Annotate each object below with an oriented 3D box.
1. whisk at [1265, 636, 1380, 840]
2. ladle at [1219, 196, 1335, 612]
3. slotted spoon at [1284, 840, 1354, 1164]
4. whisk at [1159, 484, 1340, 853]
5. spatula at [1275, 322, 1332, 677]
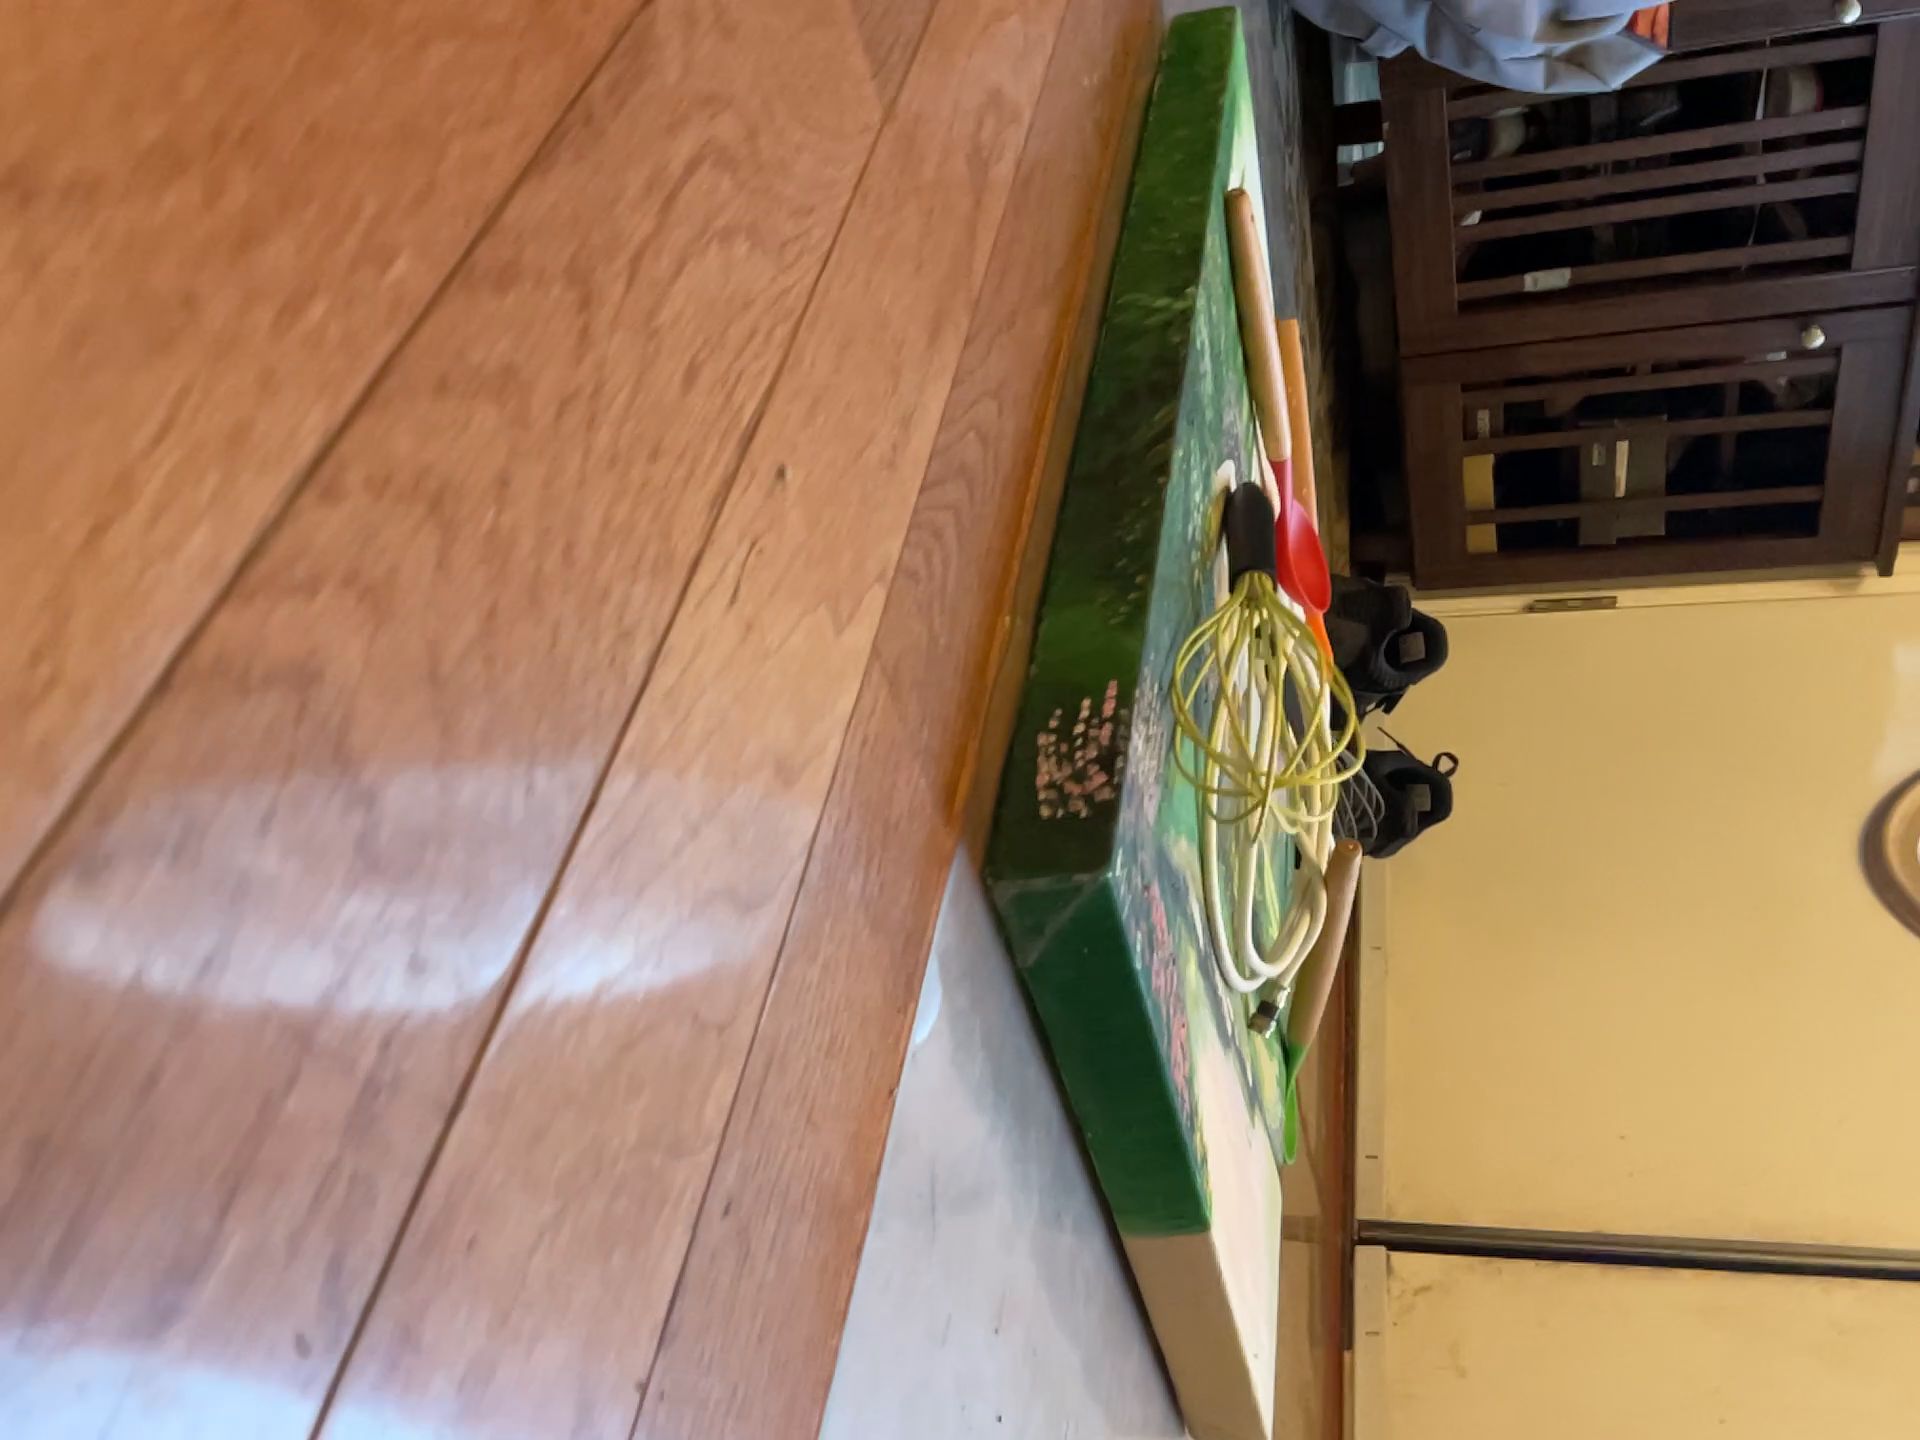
[{"bbox_3d":[0.222,0.010,0.998,0.238,0.055,0.055,57,24,-48],"label":"whisk"},{"bbox_3d":[0.182,-0.171,0.921,0.315,0.031,0.069,62,30,-50],"label":"ladle"},{"bbox_3d":[0.194,0.163,0.899,0.313,0.031,0.070,86,14,-50],"label":"slotted spoon"},{"bbox_3d":[0.124,-0.043,0.688,0.312,0.067,0.080,-73,160,-60],"label":"whisk"},{"bbox_3d":[0.226,-0.107,1.087,0.081,0.041,0.322,-77,158,-69],"label":"spatula"}]
